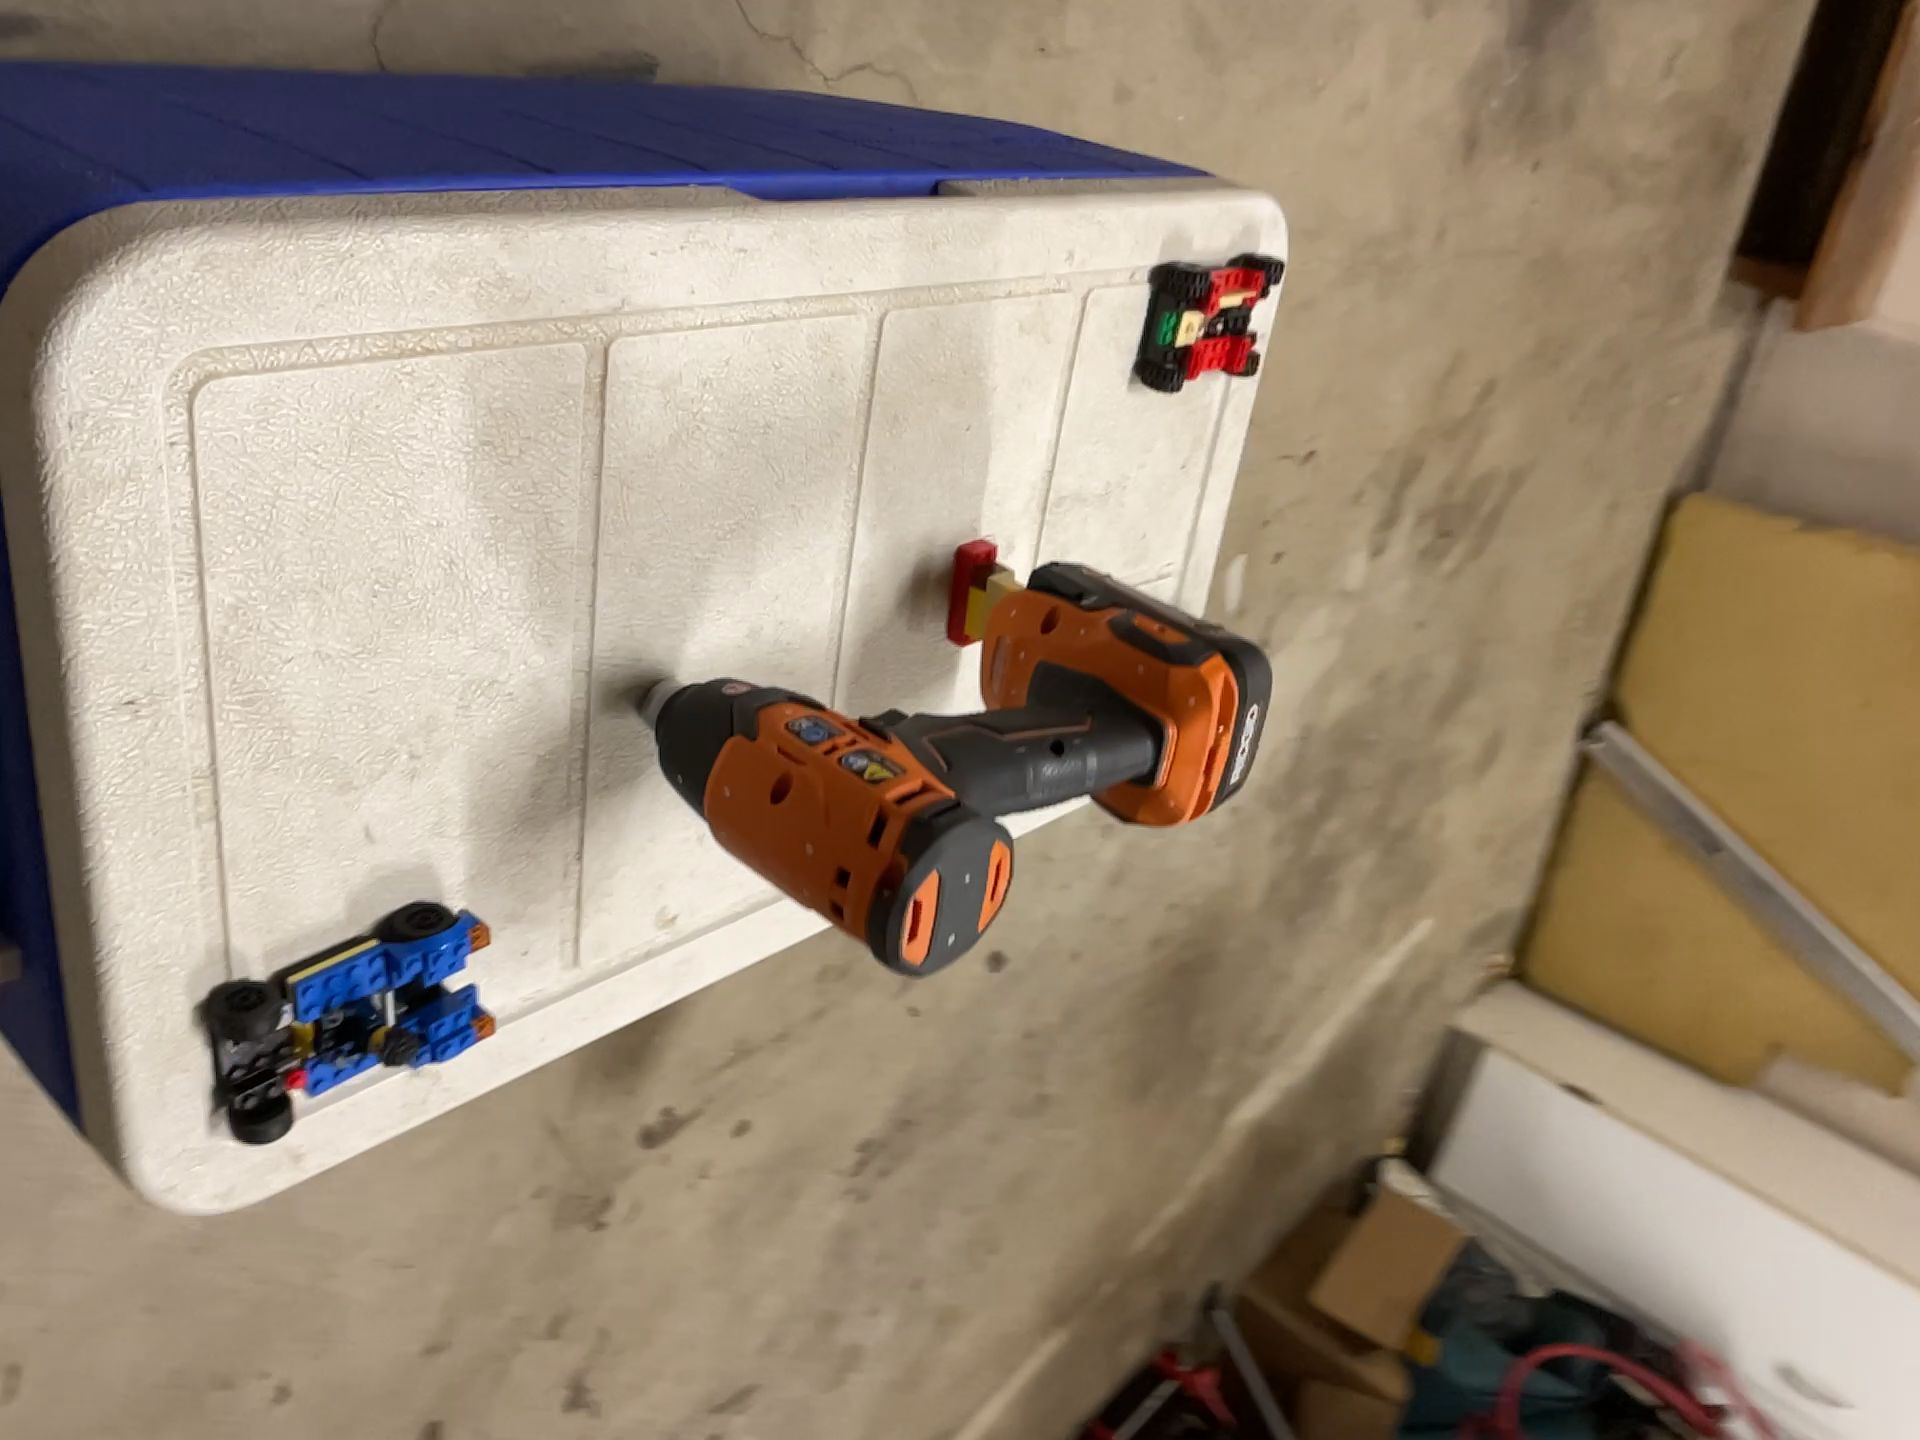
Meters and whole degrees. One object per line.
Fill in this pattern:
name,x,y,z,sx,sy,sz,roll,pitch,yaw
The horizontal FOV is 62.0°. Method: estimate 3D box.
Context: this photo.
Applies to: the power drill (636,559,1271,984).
power drill,-0.003,0.004,0.615,0.226,0.164,0.084,-22,131,-44
